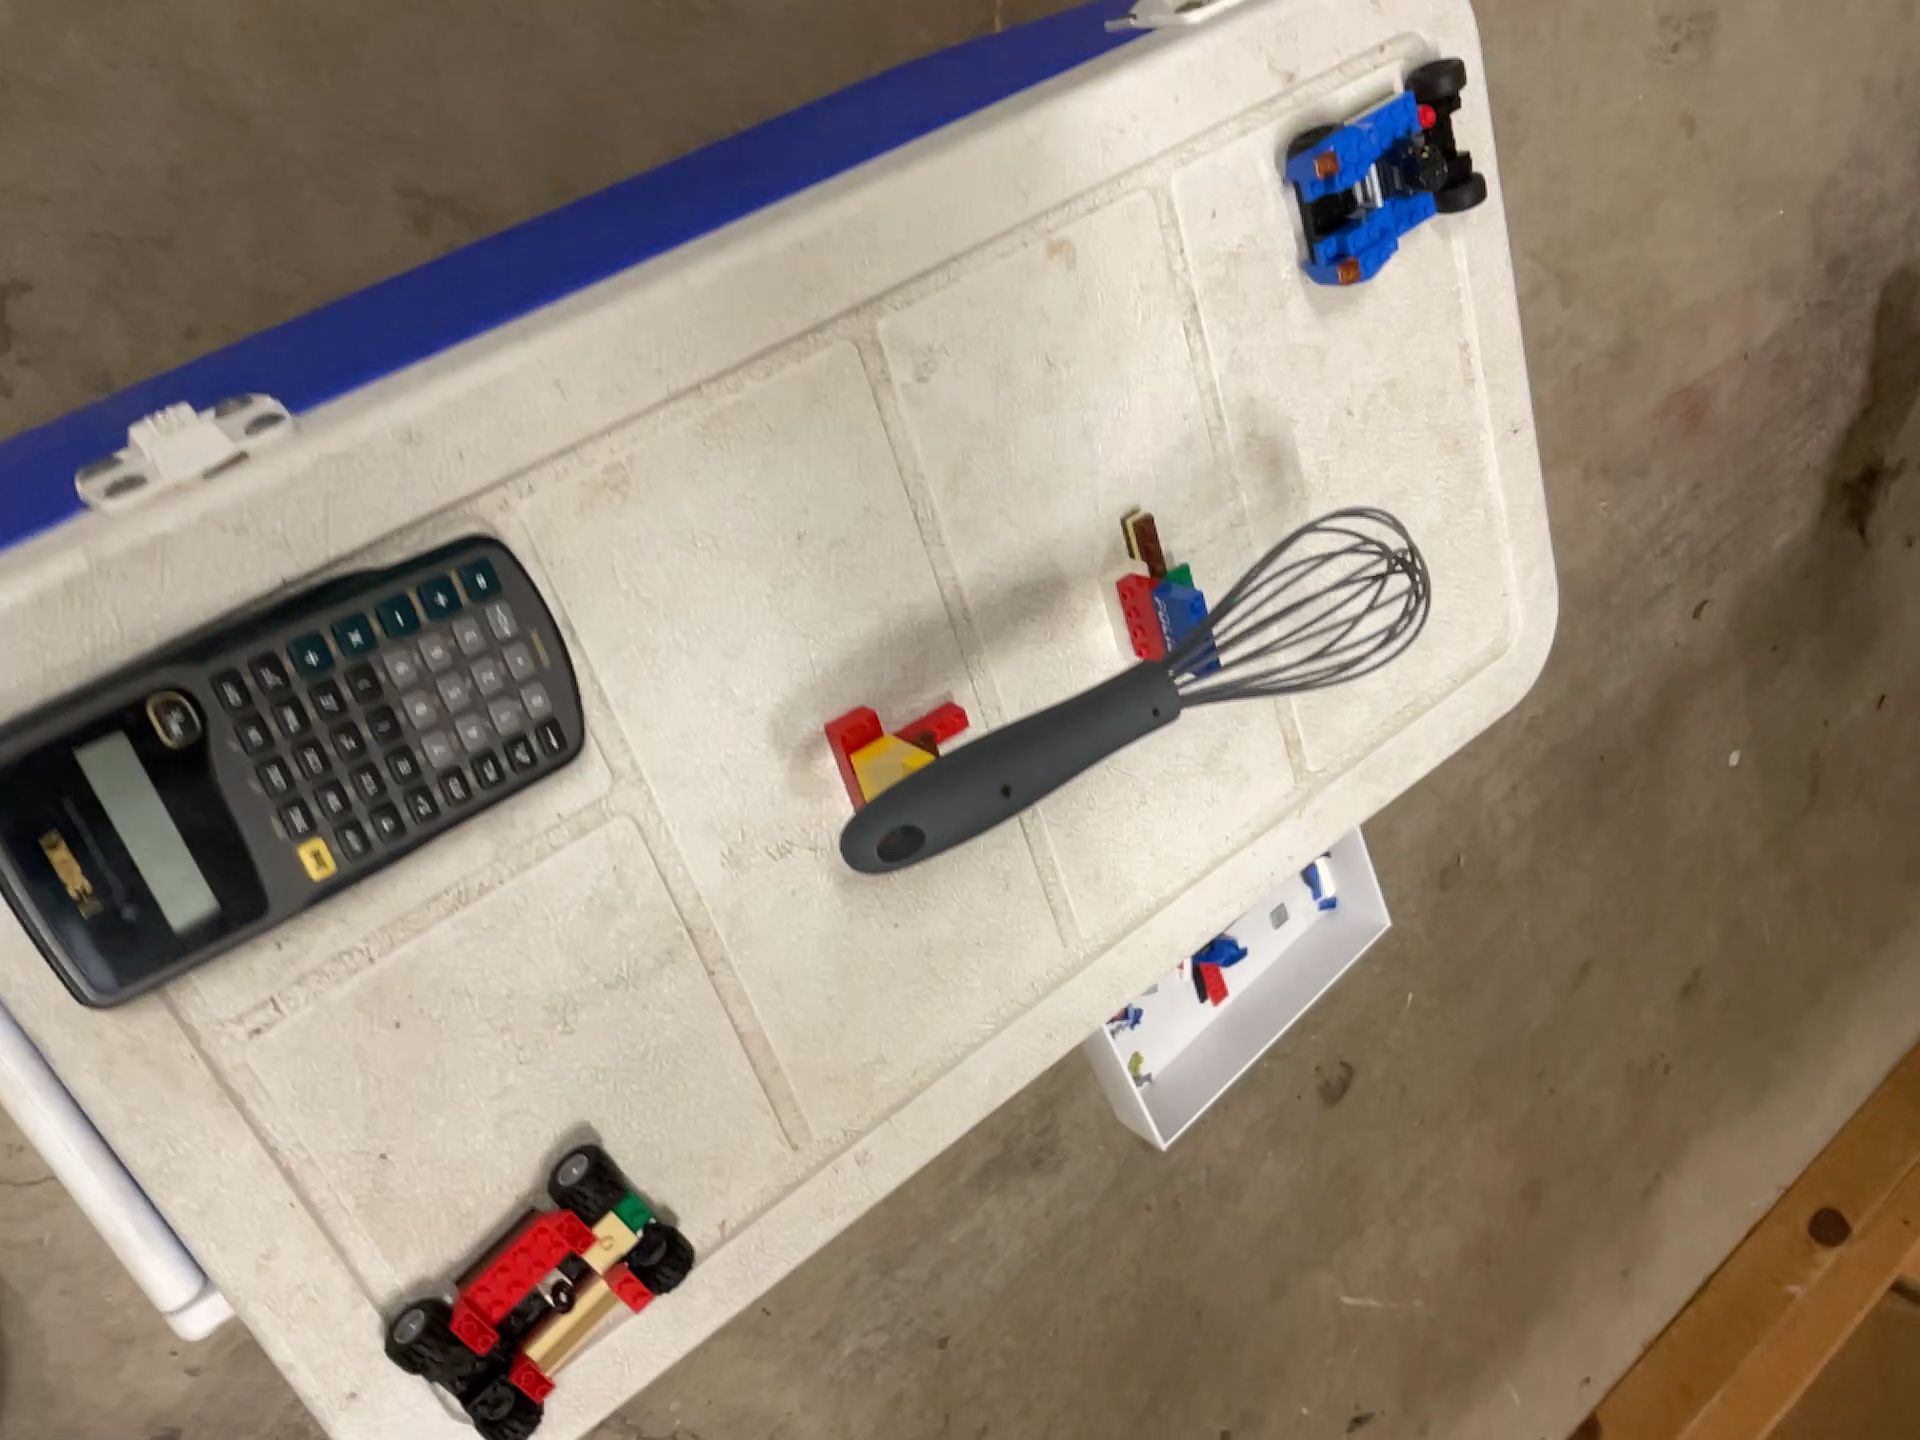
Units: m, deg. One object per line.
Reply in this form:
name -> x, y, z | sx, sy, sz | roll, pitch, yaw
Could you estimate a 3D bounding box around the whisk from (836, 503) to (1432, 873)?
whisk -> 0.063, -0.011, 0.526 | 0.239, 0.055, 0.055 | -27, 116, -21
